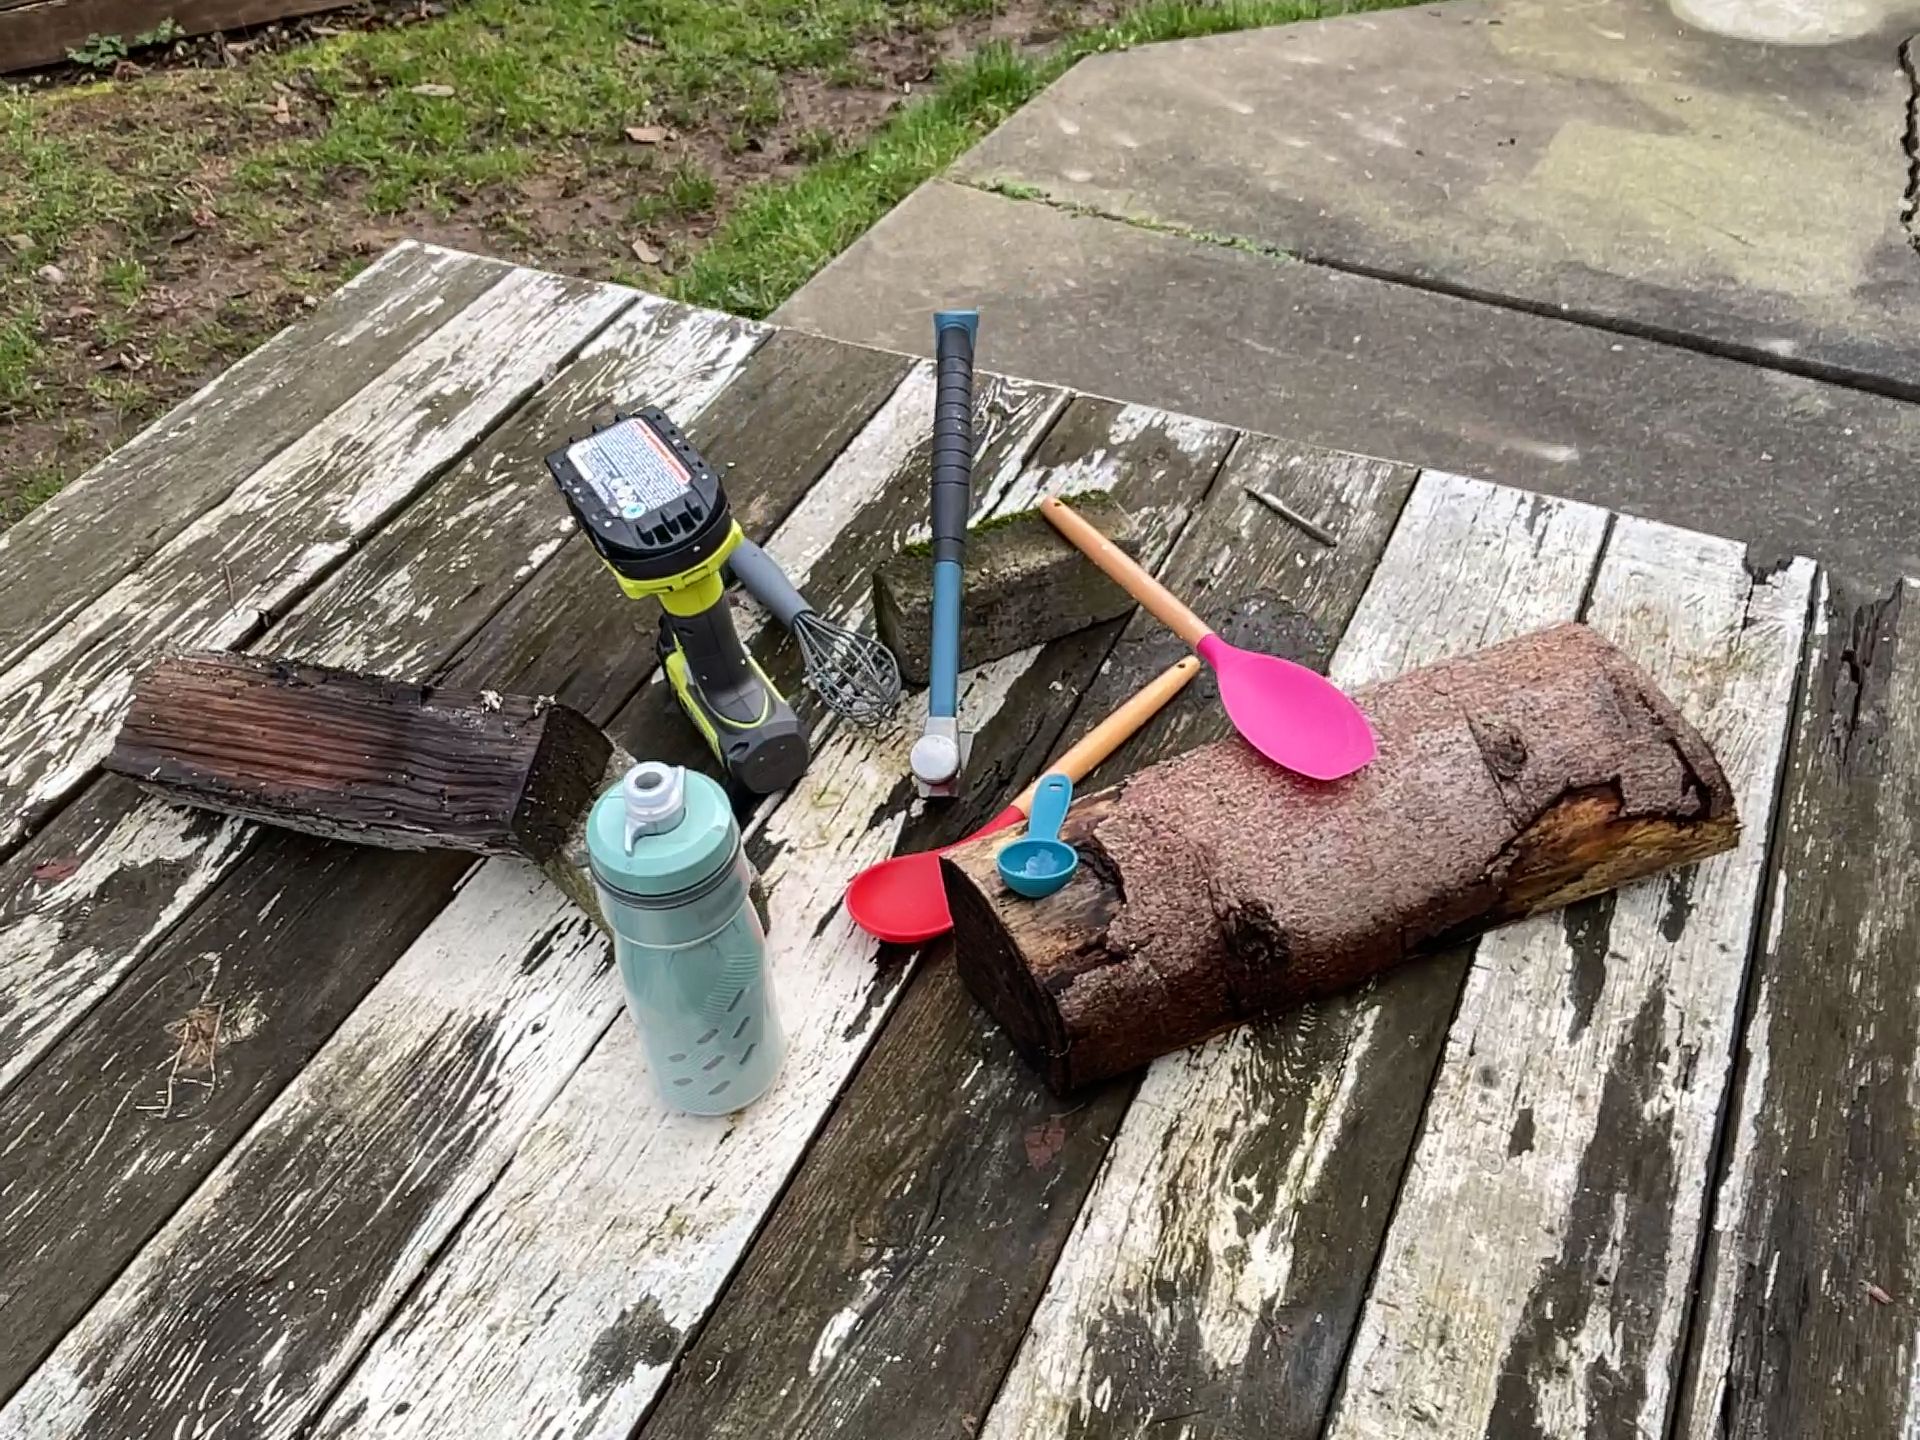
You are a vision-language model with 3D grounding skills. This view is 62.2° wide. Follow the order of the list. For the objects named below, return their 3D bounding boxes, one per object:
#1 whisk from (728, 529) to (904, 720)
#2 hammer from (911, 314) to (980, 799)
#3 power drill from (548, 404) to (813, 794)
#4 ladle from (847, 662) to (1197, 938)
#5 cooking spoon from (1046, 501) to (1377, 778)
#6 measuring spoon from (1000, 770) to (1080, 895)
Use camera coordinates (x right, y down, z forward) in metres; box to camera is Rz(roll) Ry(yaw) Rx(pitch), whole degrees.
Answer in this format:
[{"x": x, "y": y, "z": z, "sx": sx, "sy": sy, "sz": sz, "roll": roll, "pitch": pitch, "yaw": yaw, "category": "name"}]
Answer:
[{"x": -0.109, "y": -0.075, "z": 1.112, "sx": 0.055, "sy": 0.055, "sz": 0.239, "roll": -19, "pitch": 43, "yaw": -26, "category": "whisk"}, {"x": -0.007, "y": -0.111, "z": 1.024, "sx": 0.033, "sy": 0.128, "sz": 0.331, "roll": 2, "pitch": 77, "yaw": 2, "category": "hammer"}, {"x": -0.174, "y": -0.076, "z": 1.002, "sx": 0.080, "sy": 0.223, "sz": 0.171, "roll": -29, "pitch": 49, "yaw": -14, "category": "power drill"}, {"x": 0.051, "y": 0.044, "z": 1.004, "sx": 0.069, "sy": 0.031, "sz": 0.315, "roll": 30, "pitch": 51, "yaw": 32, "category": "ladle"}, {"x": 0.141, "y": -0.059, "z": 0.988, "sx": 0.068, "sy": 0.017, "sz": 0.319, "roll": -24, "pitch": 44, "yaw": -18, "category": "cooking spoon"}, {"x": 0.048, "y": 0.063, "z": 0.877, "sx": 0.042, "sy": 0.021, "sz": 0.129, "roll": 3, "pitch": 23, "yaw": 7, "category": "measuring spoon"}]
